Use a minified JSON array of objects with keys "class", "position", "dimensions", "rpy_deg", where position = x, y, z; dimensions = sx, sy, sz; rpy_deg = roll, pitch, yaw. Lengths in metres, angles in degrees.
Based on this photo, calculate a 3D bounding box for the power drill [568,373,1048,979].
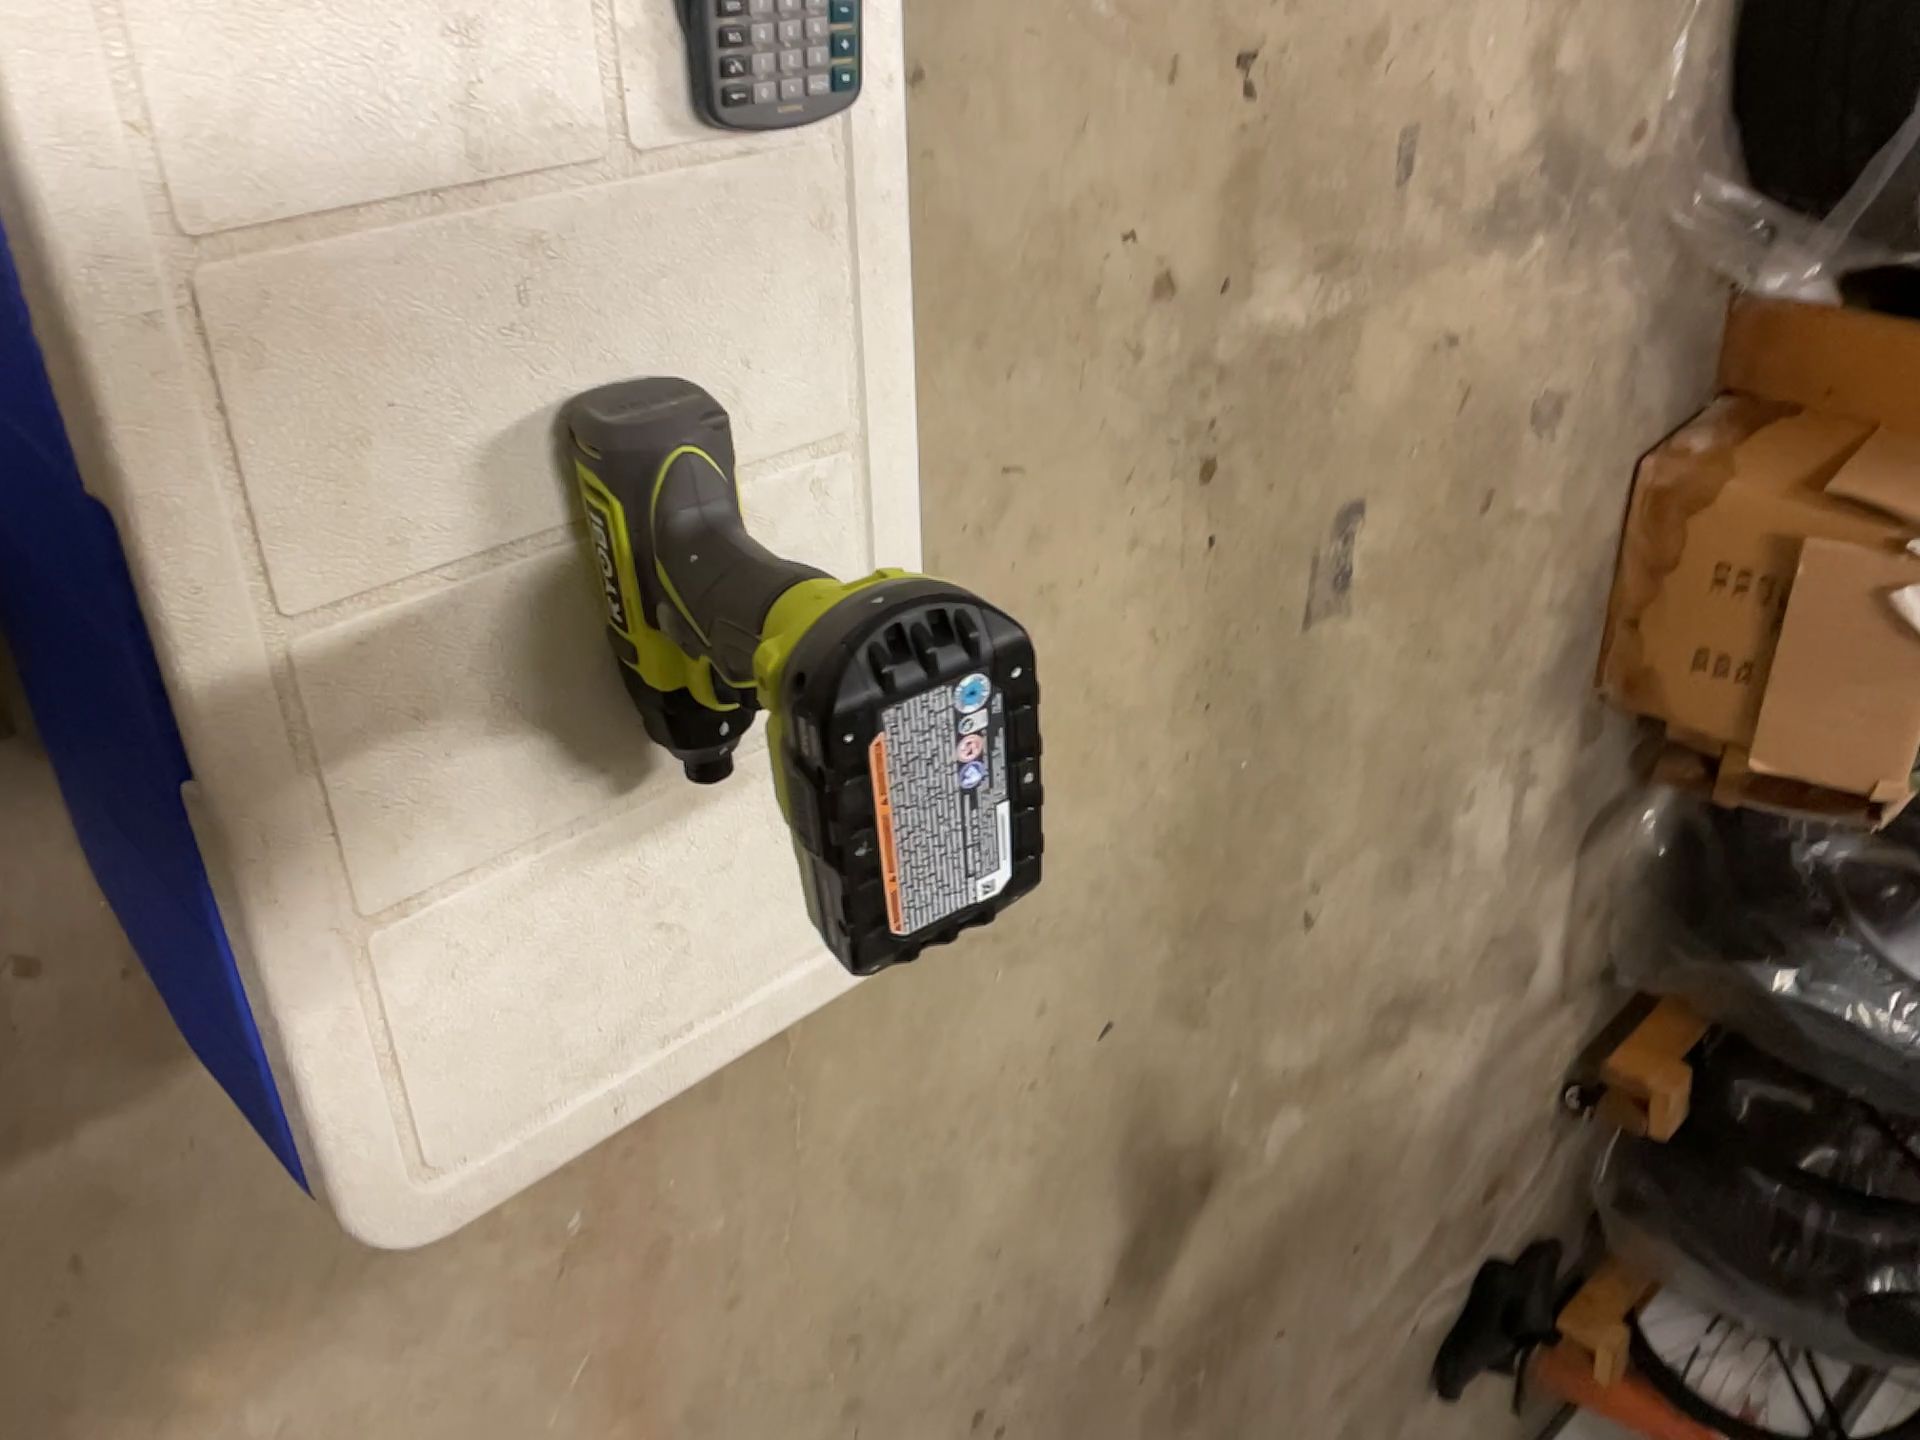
[{"class":"power drill","position":[-0.065,-0.013,0.575],"dimensions":[0.080,0.223,0.171],"rpy_deg":[-22,127,-26]}]
